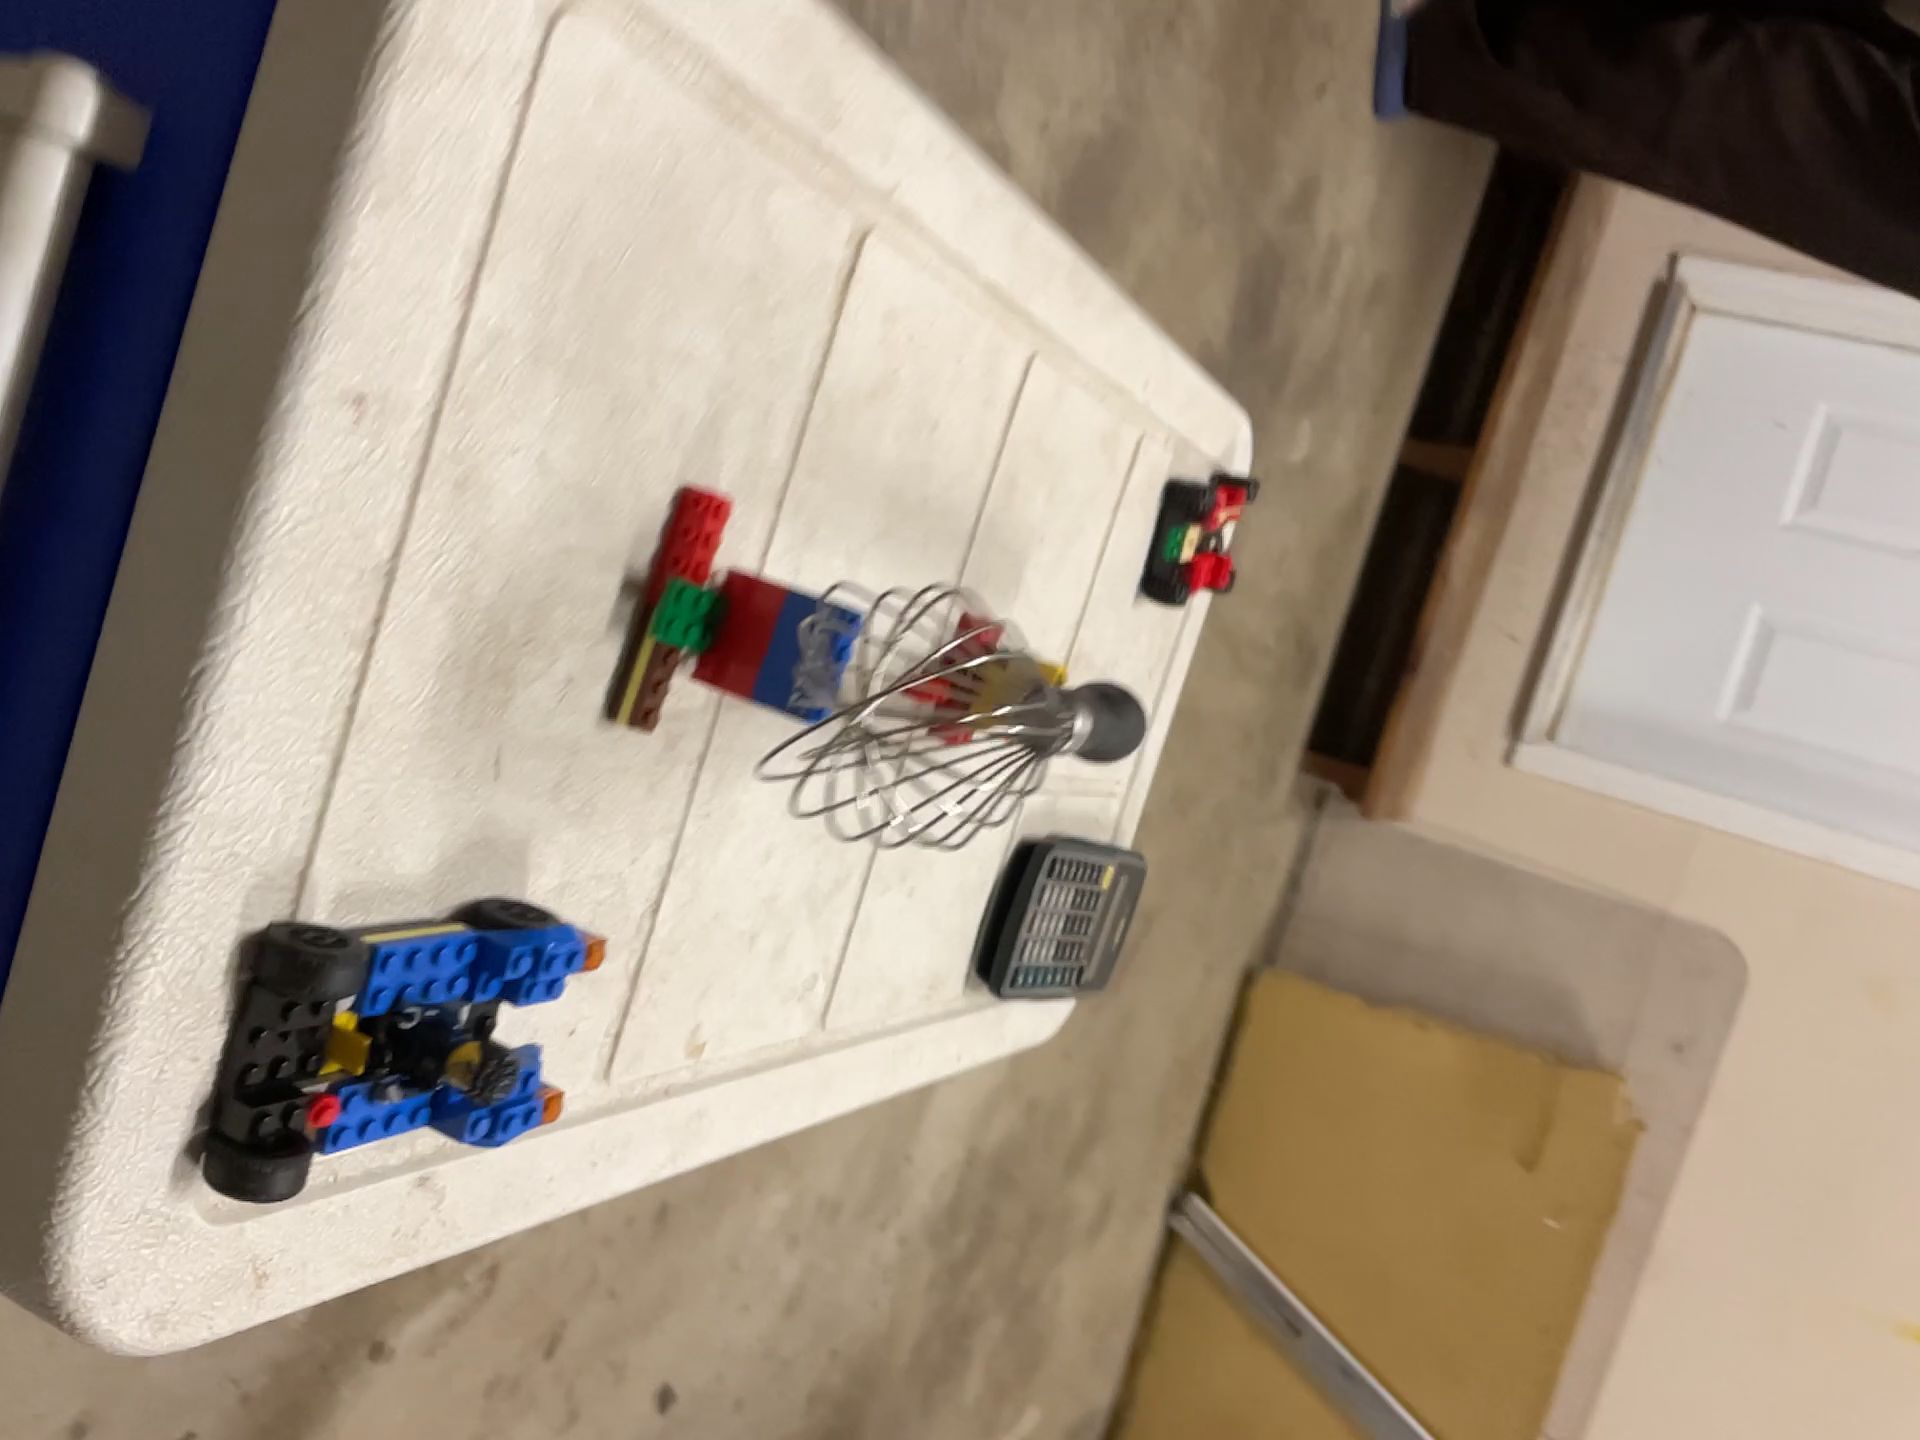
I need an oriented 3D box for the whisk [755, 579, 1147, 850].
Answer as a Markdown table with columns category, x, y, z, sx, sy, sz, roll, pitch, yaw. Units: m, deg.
| category | x | y | z | sx | sy | sz | roll | pitch | yaw |
| --- | --- | --- | --- | --- | --- | --- | --- | --- | --- |
| whisk | 0.019 | -0.001 | 0.471 | 0.284 | 0.070 | 0.070 | 1 | 102 | -72 |
